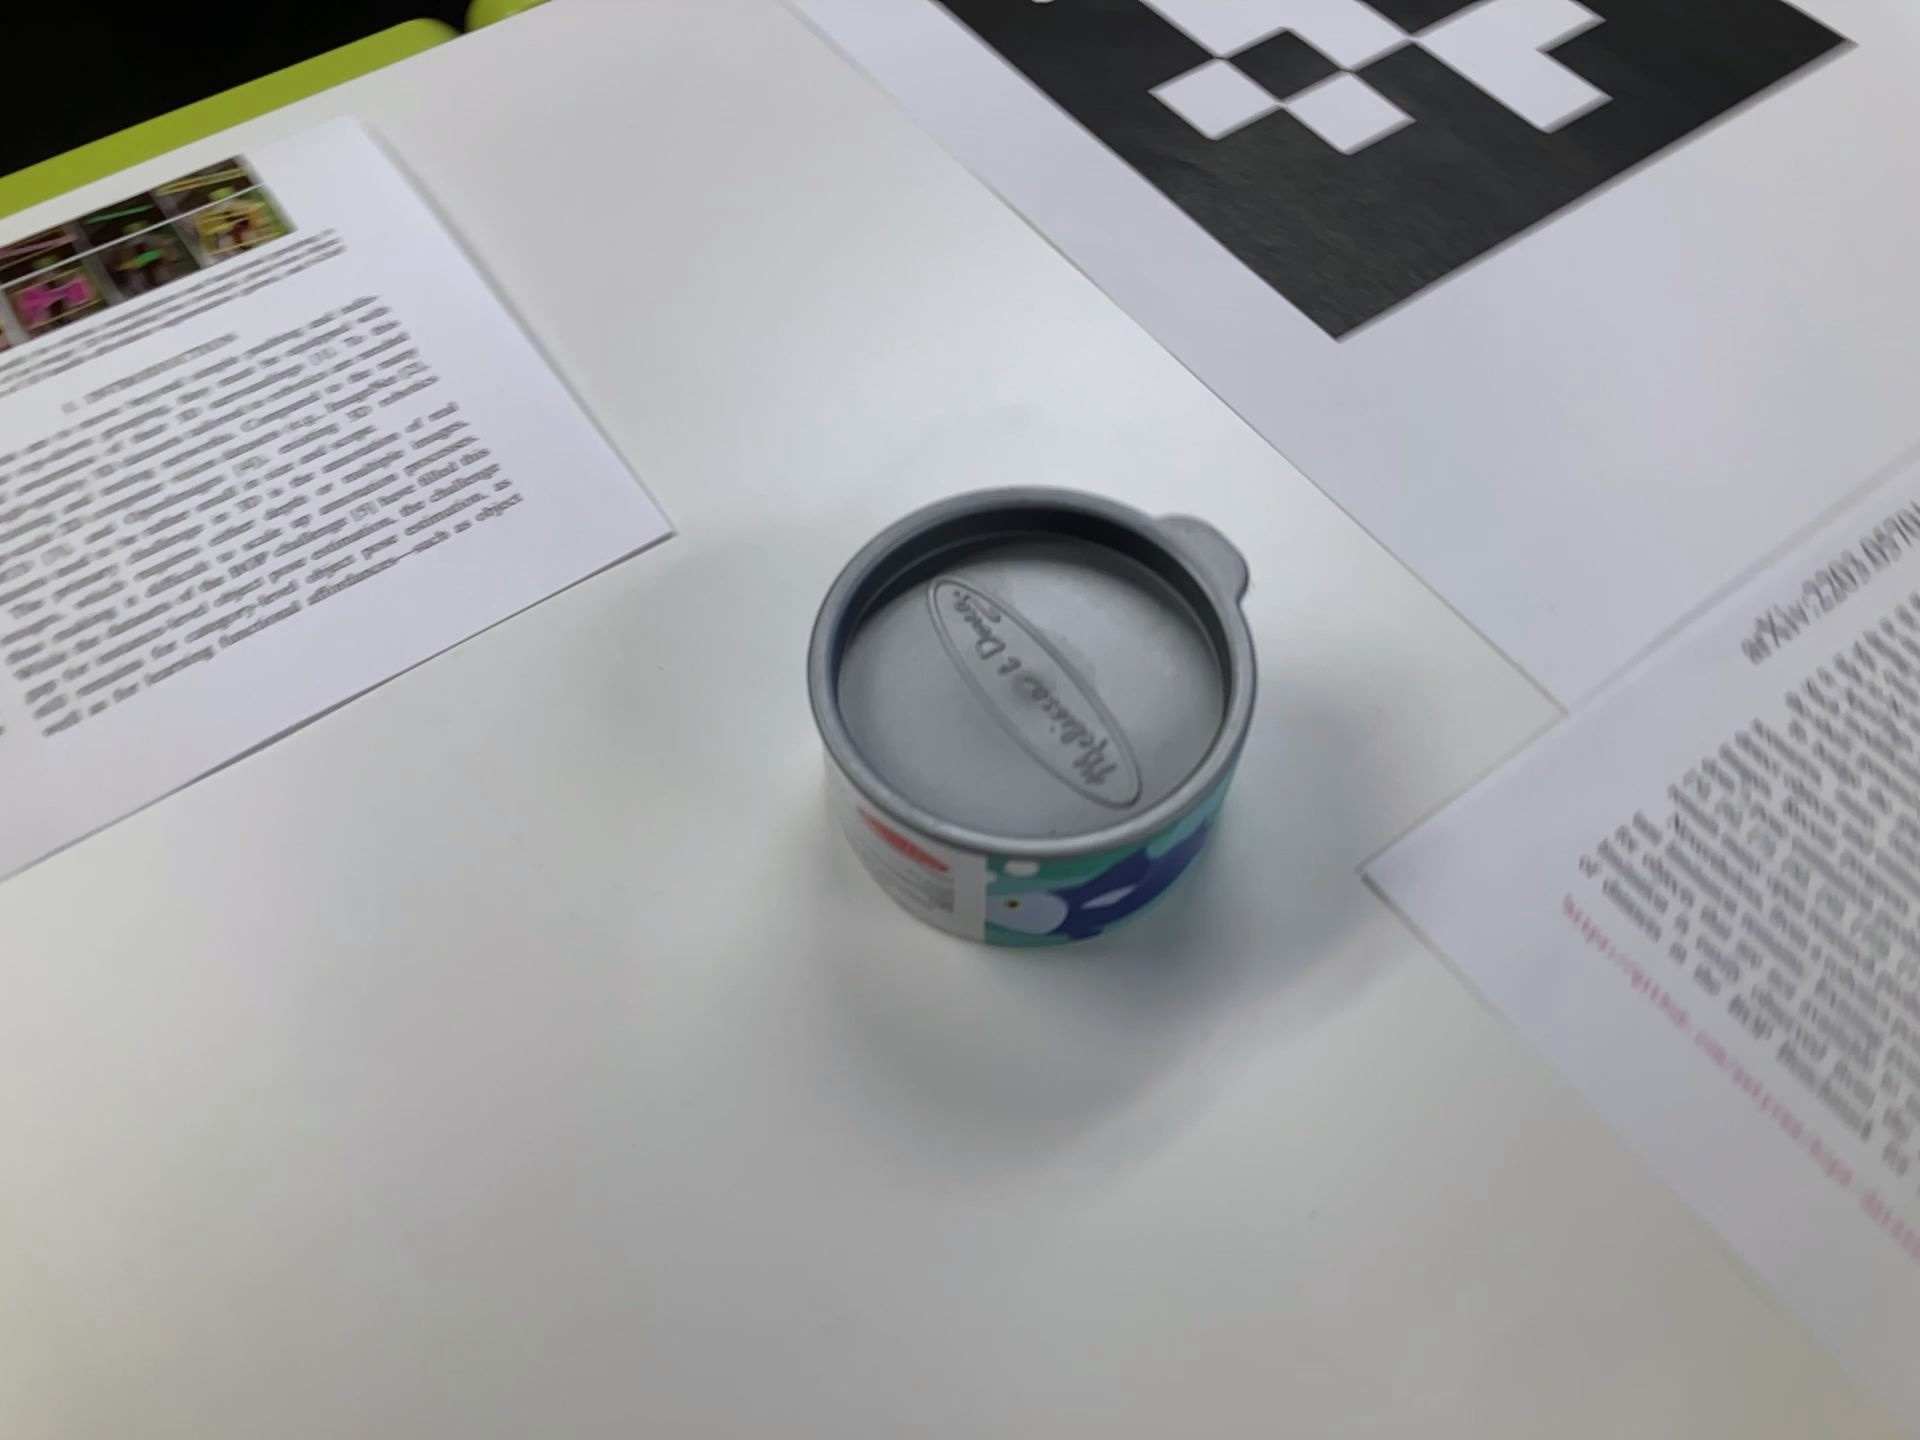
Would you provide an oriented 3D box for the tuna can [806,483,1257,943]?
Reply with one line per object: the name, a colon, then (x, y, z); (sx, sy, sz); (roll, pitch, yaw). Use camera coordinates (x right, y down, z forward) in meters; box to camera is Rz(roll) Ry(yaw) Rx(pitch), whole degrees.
tuna can: (0.013, -0.003, 0.246); (0.071, 0.033, 0.071); (0, 57, 0)
